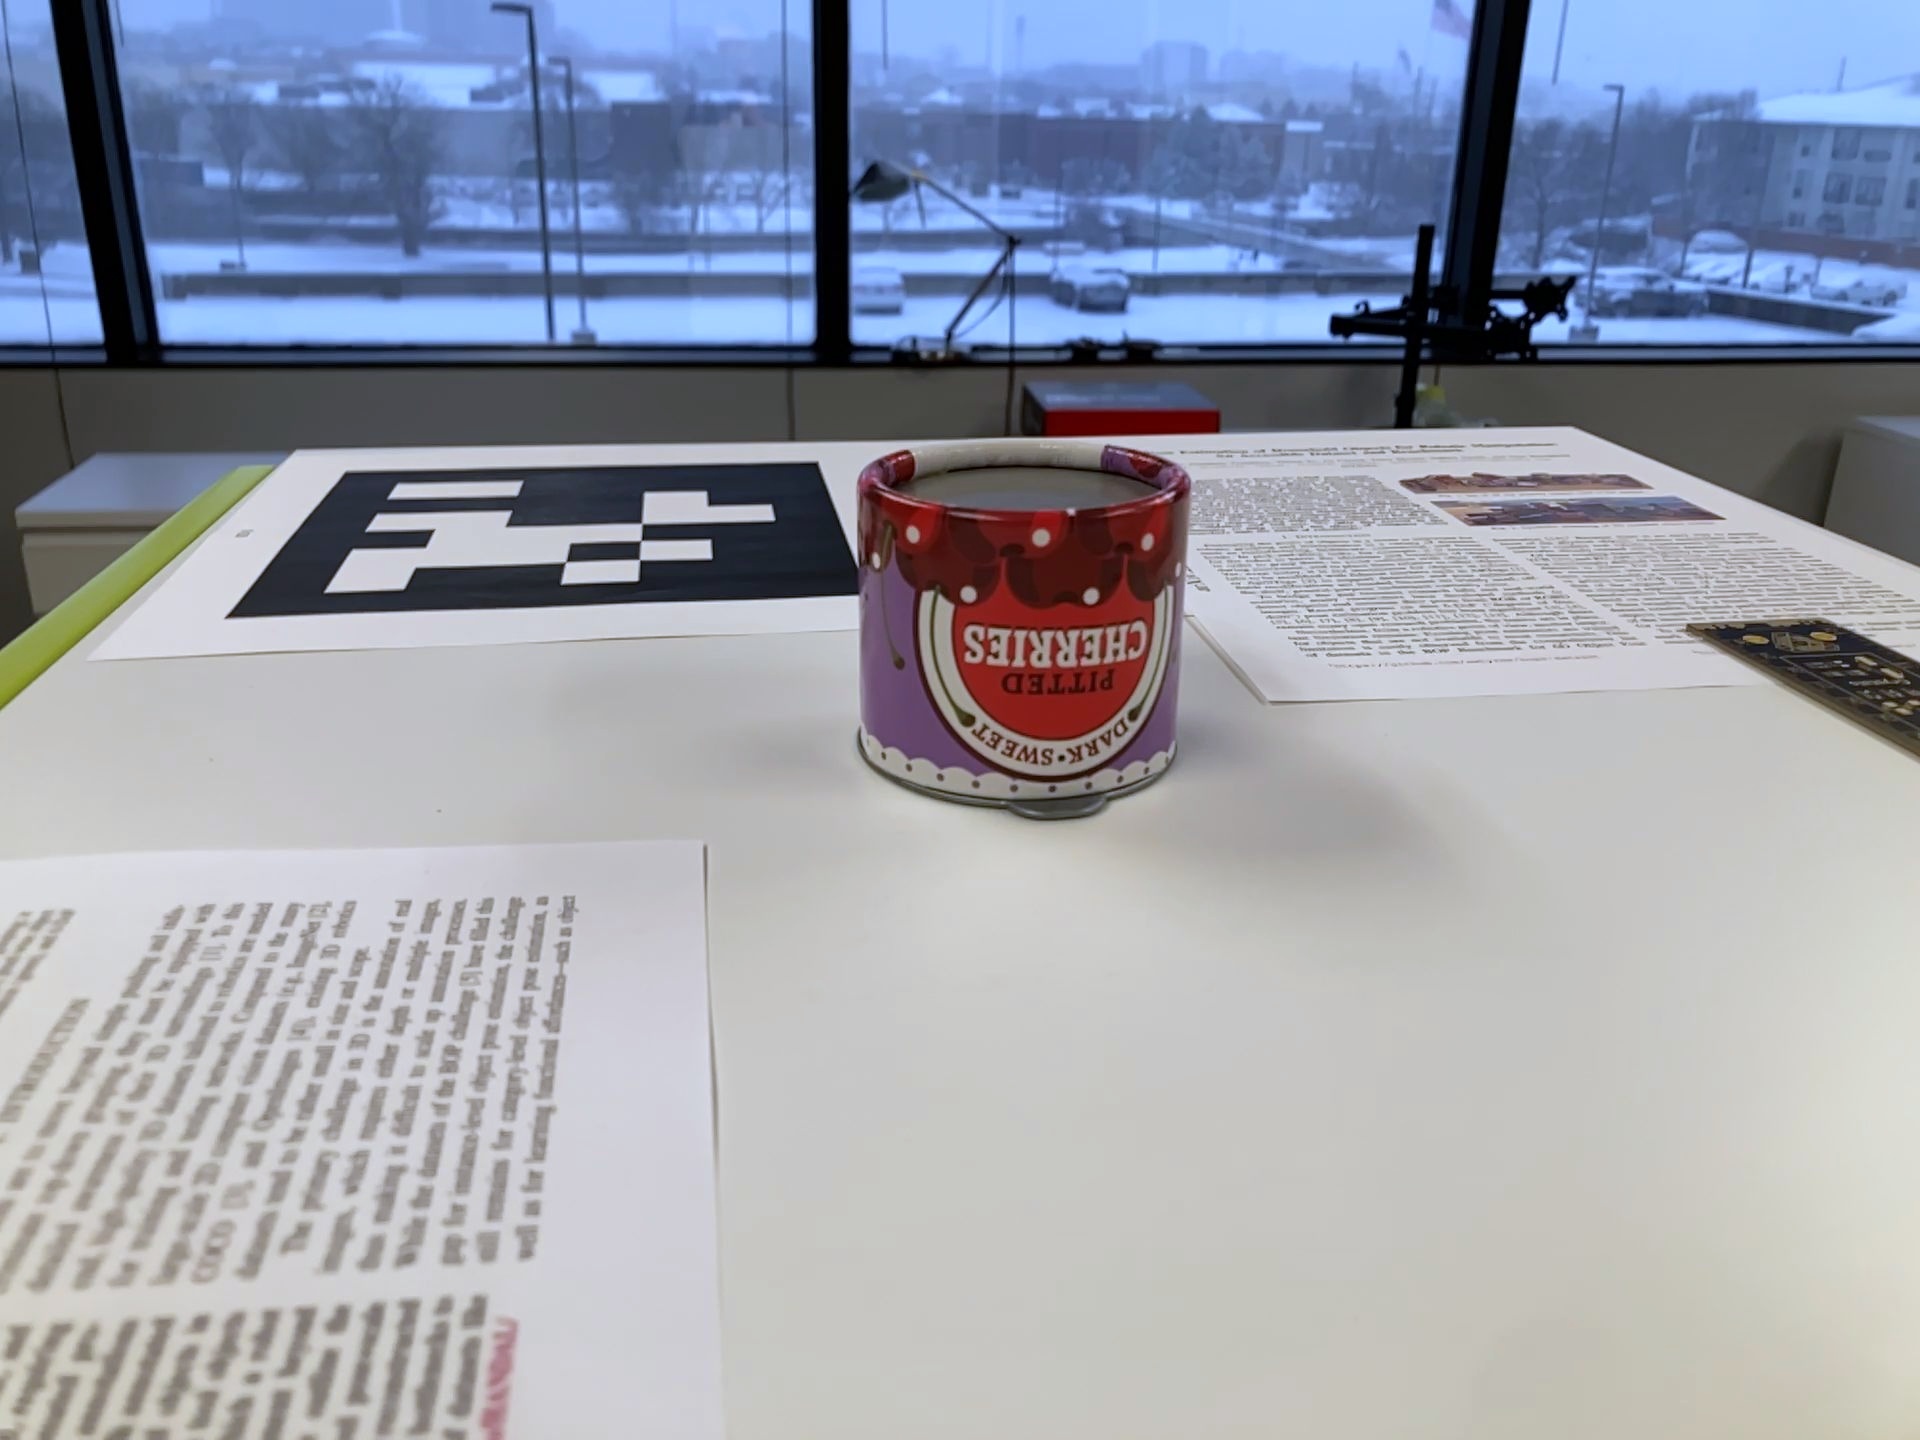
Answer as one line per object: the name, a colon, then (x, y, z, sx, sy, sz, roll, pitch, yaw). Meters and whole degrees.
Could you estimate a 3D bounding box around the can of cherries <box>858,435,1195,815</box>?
can of cherries: (0.013, -0.022, 0.314, 0.071, 0.058, 0.071, 1, 21, 0)
